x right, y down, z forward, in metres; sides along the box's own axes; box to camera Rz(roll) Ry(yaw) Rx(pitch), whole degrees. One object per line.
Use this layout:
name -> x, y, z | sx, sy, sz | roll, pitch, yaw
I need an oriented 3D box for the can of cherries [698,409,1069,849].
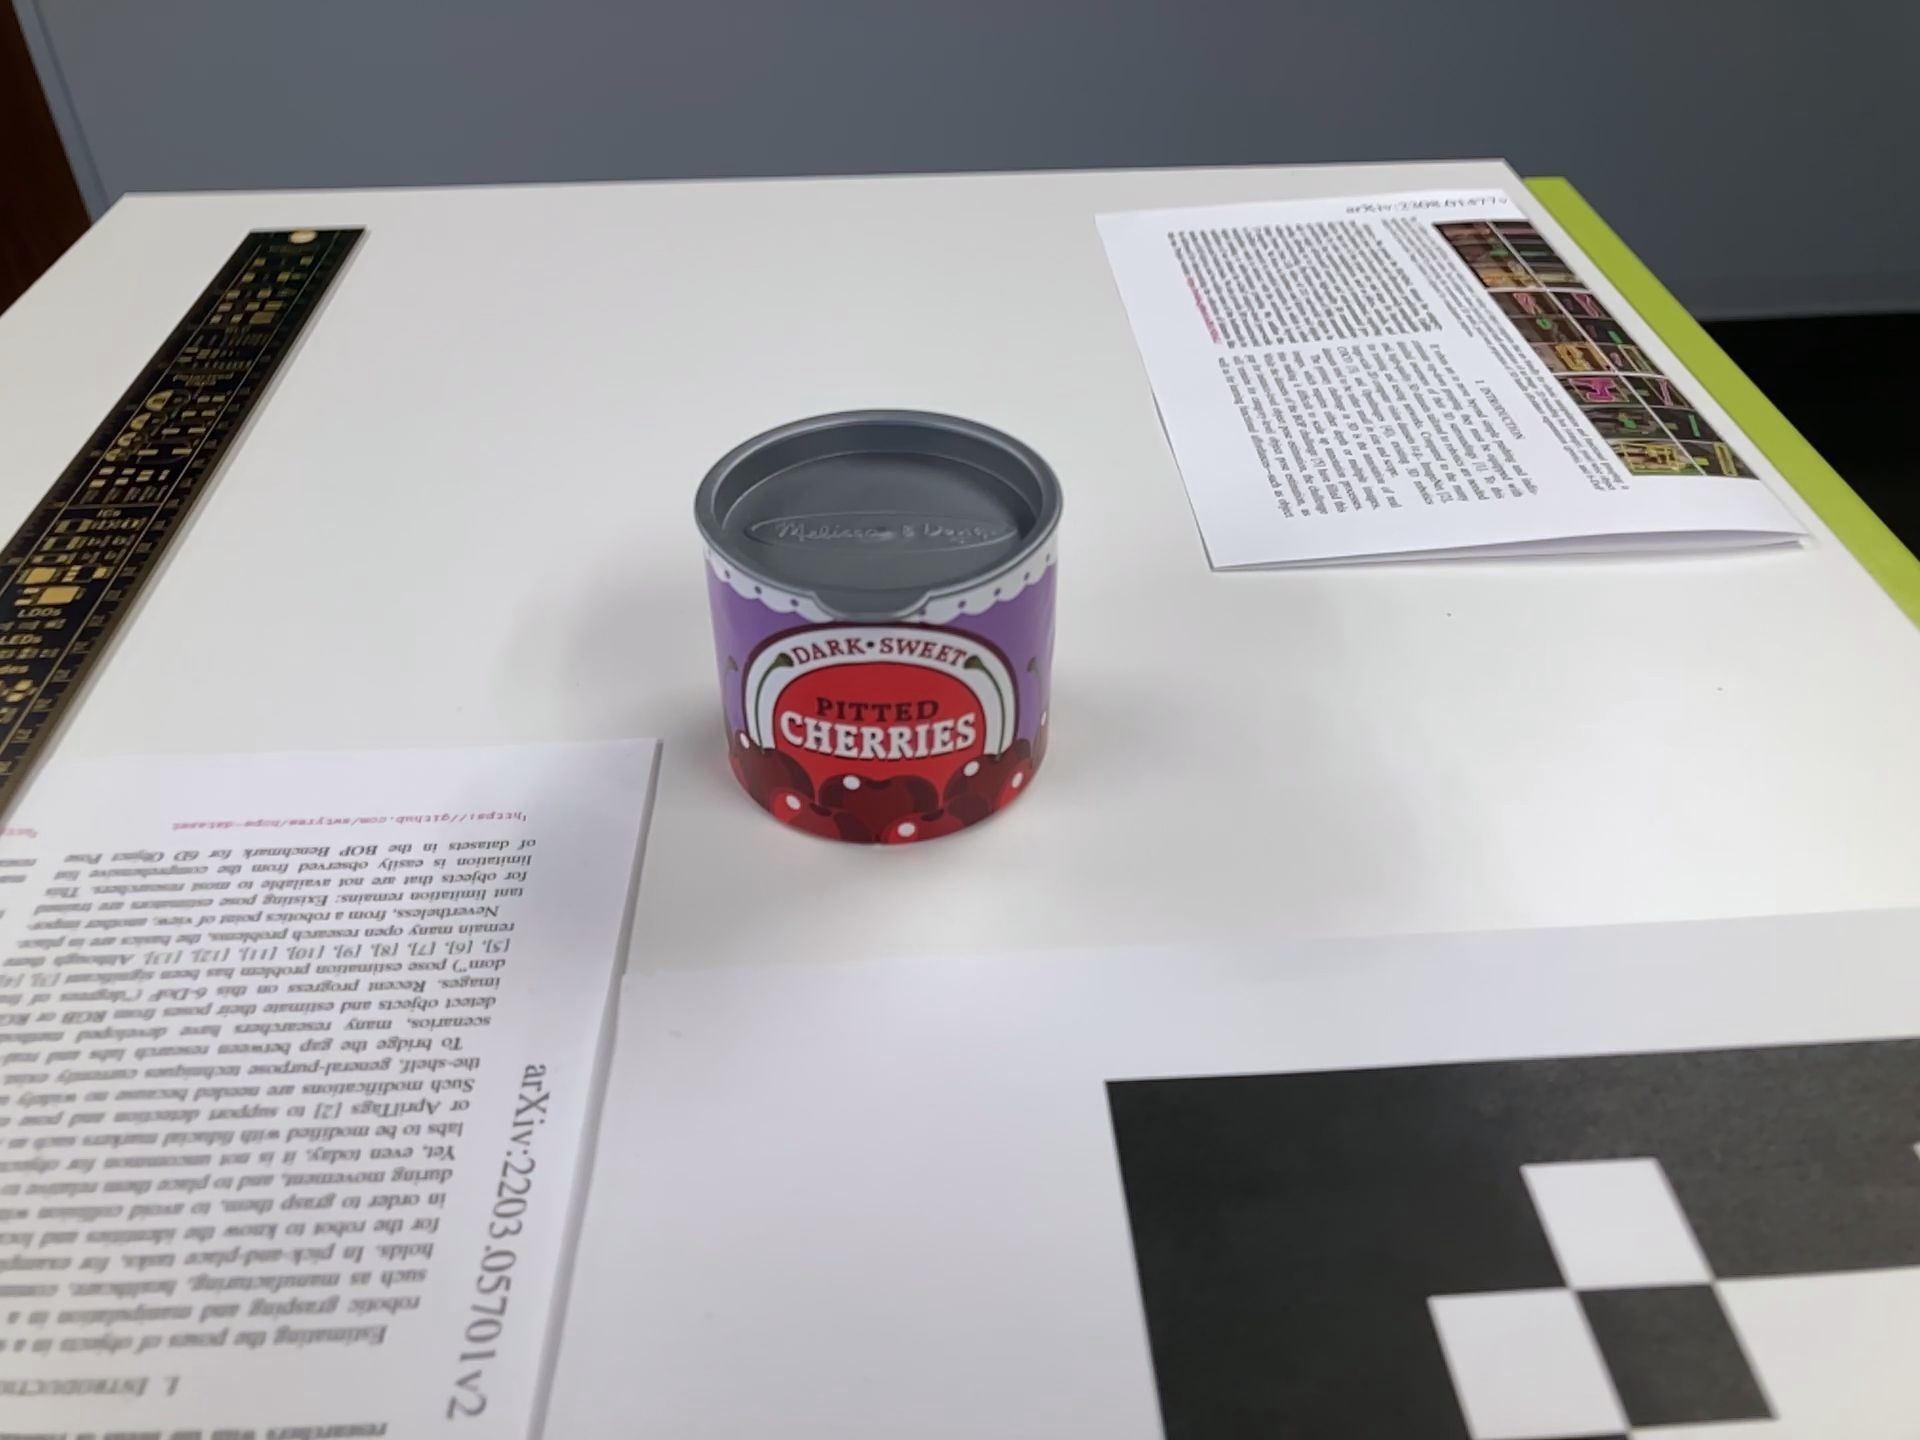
can of cherries -> -0.014, -0.017, 0.299 | 0.071, 0.058, 0.071 | 0, 38, 0
